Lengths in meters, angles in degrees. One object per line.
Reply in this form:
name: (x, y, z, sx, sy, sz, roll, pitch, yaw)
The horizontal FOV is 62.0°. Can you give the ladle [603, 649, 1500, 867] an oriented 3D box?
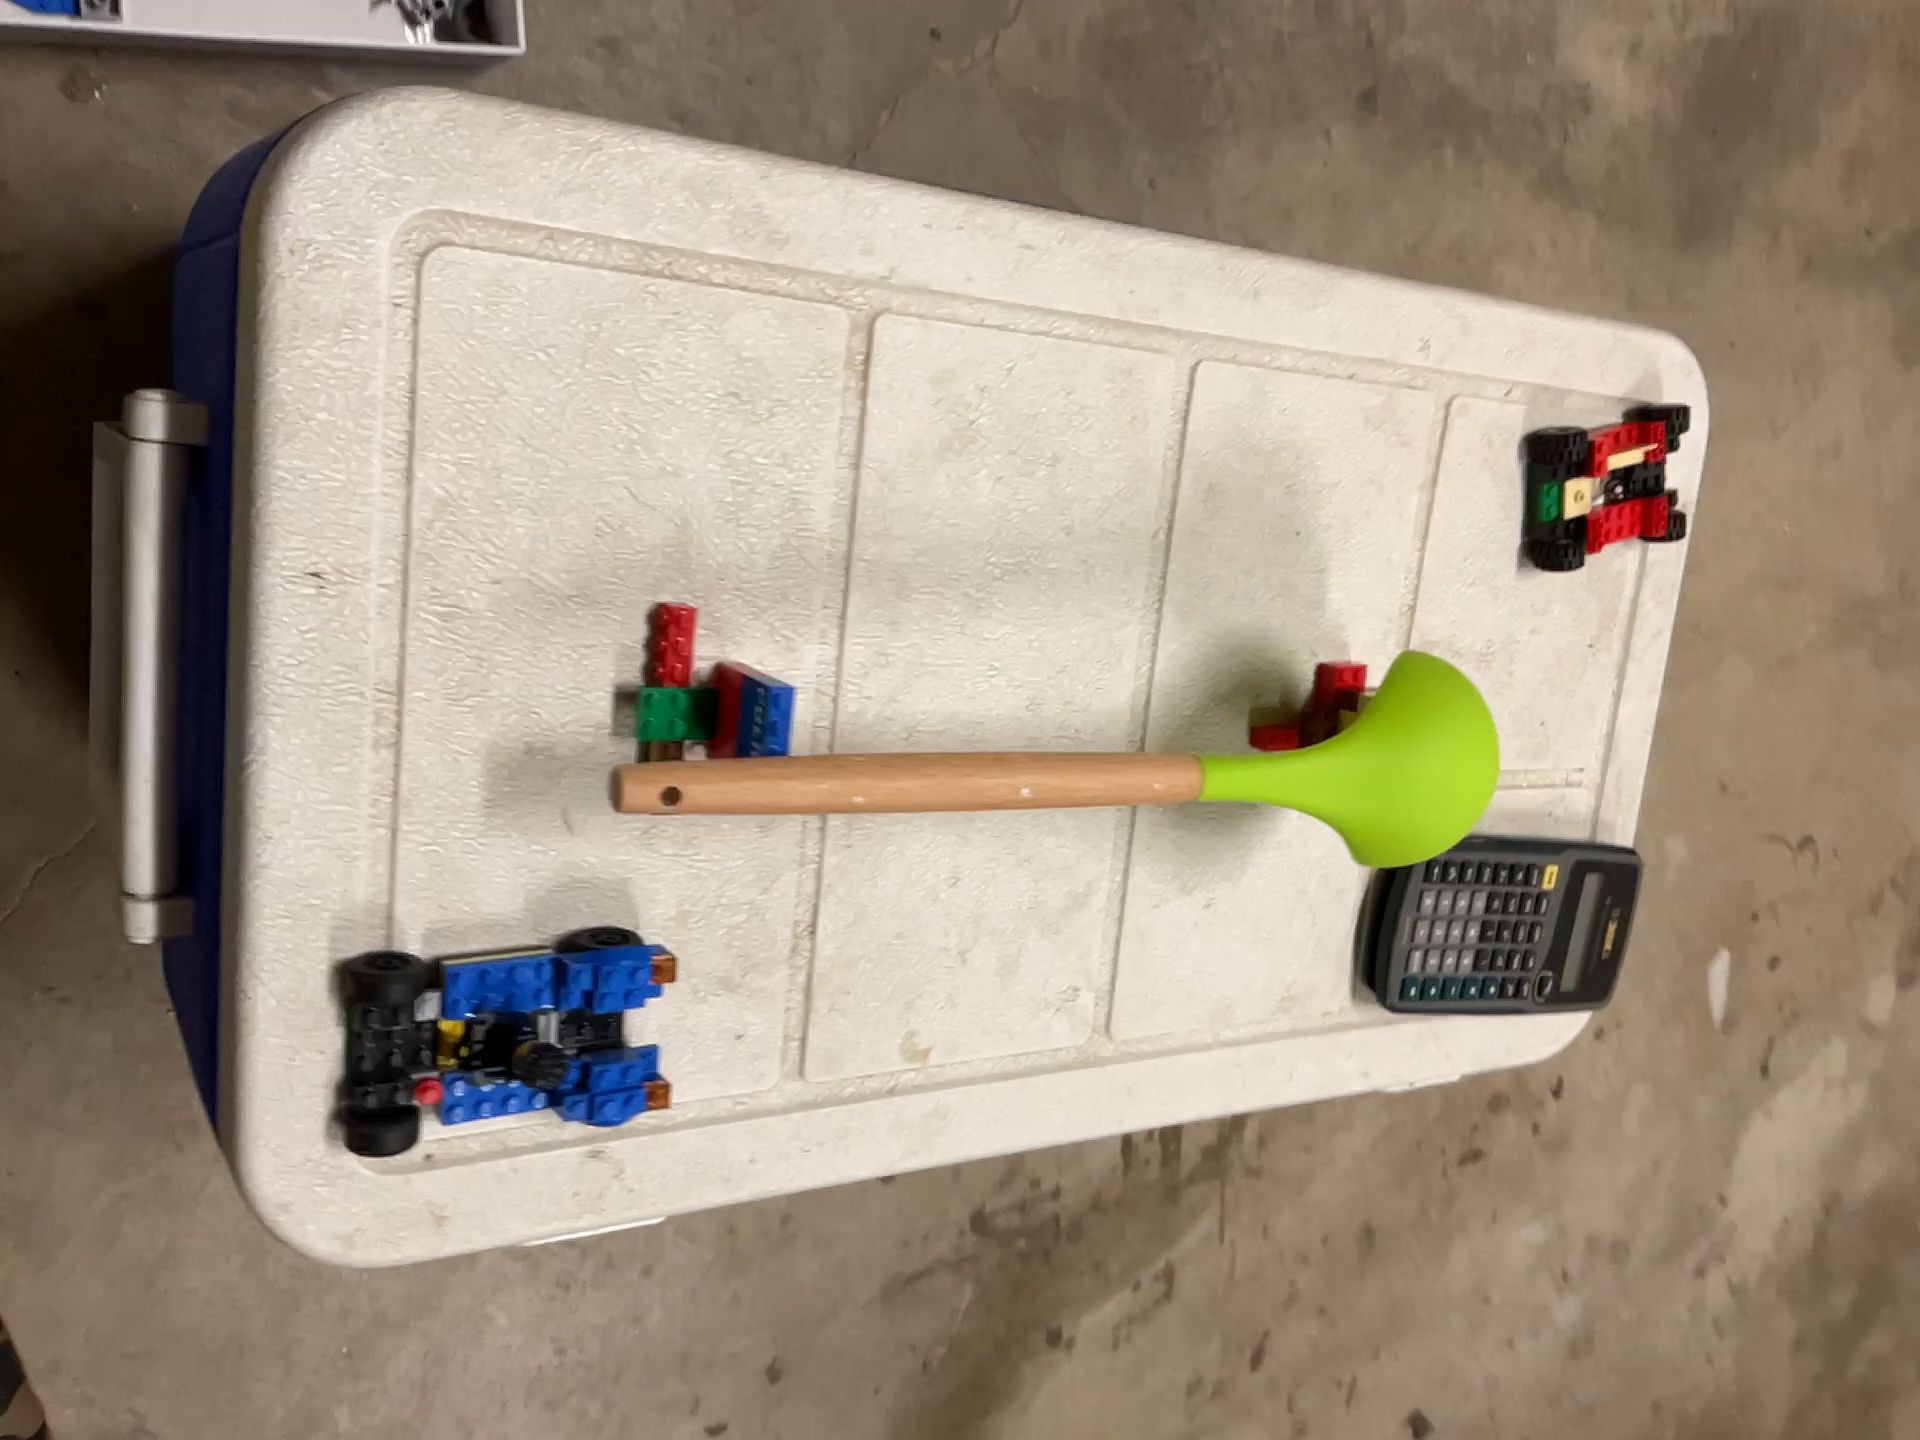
ladle: (0.045, 0.014, 0.507, 0.320, 0.062, 0.078, 0, 108, -26)
